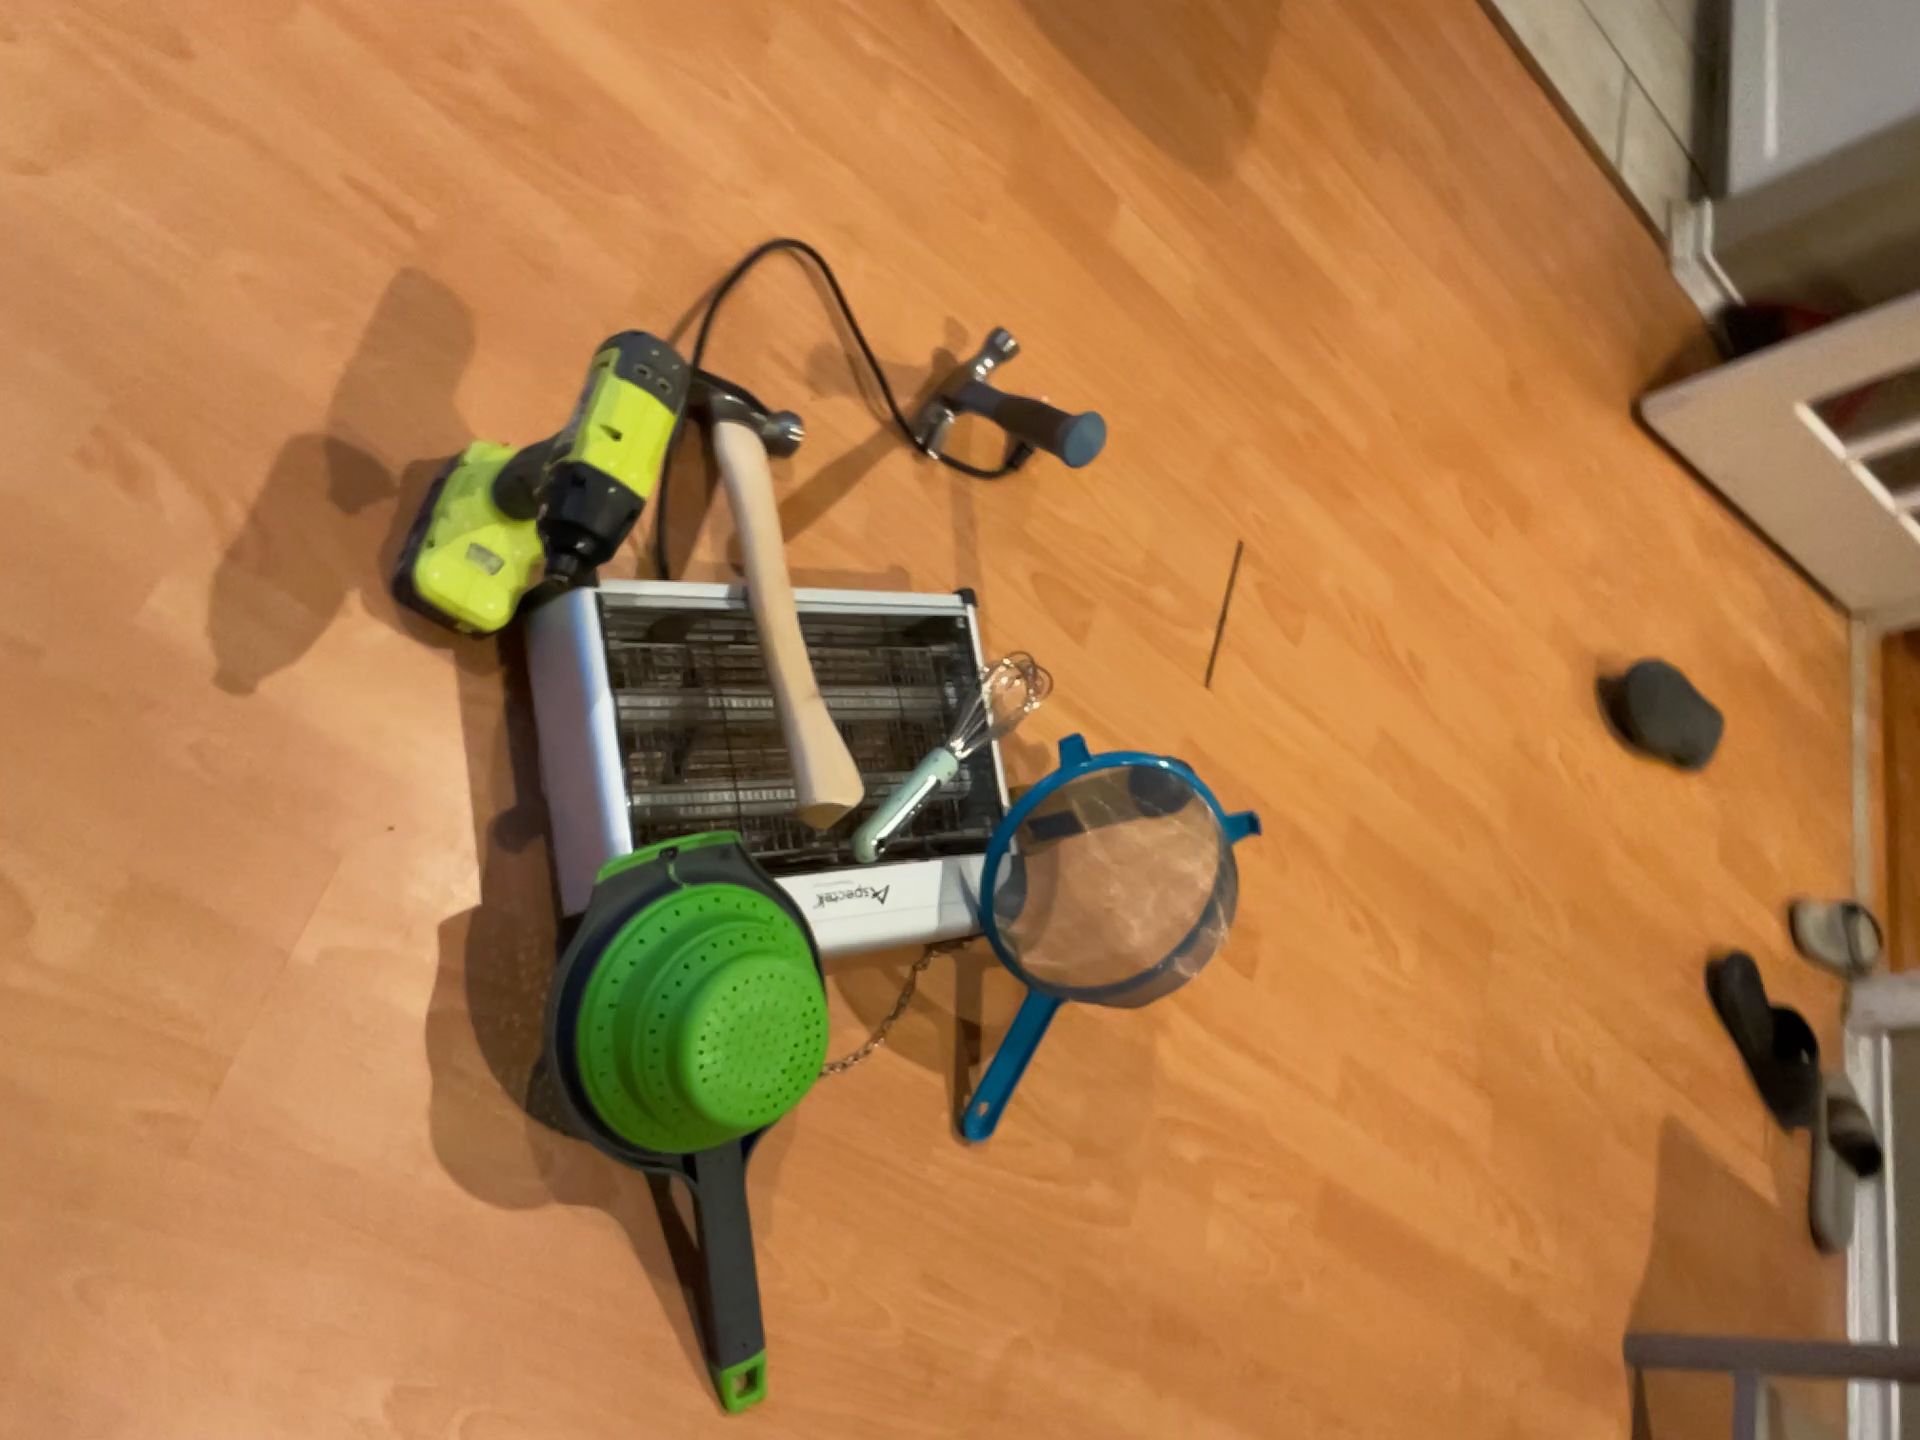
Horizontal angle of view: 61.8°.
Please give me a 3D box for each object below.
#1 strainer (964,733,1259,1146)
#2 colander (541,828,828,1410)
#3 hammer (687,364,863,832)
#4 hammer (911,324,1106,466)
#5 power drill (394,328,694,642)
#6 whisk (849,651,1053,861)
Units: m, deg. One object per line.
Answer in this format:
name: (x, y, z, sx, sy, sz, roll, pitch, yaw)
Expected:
strainer: (0.098, 0.193, 1.222, 0.211, 0.095, 0.340, 23, 98, -25)
colander: (-0.144, 0.273, 1.034, 0.205, 0.094, 0.396, -14, 103, -38)
hammer: (-0.145, -0.100, 1.144, 0.146, 0.038, 0.411, 18, 42, -39)
hammer: (0.043, -0.253, 1.303, 0.128, 0.331, 0.033, -46, 115, 2)
power drill: (-0.267, -0.135, 1.018, 0.080, 0.223, 0.171, 32, 58, -31)
whisk: (-0.006, 0.026, 1.222, 0.246, 0.059, 0.057, -47, 139, -38)
